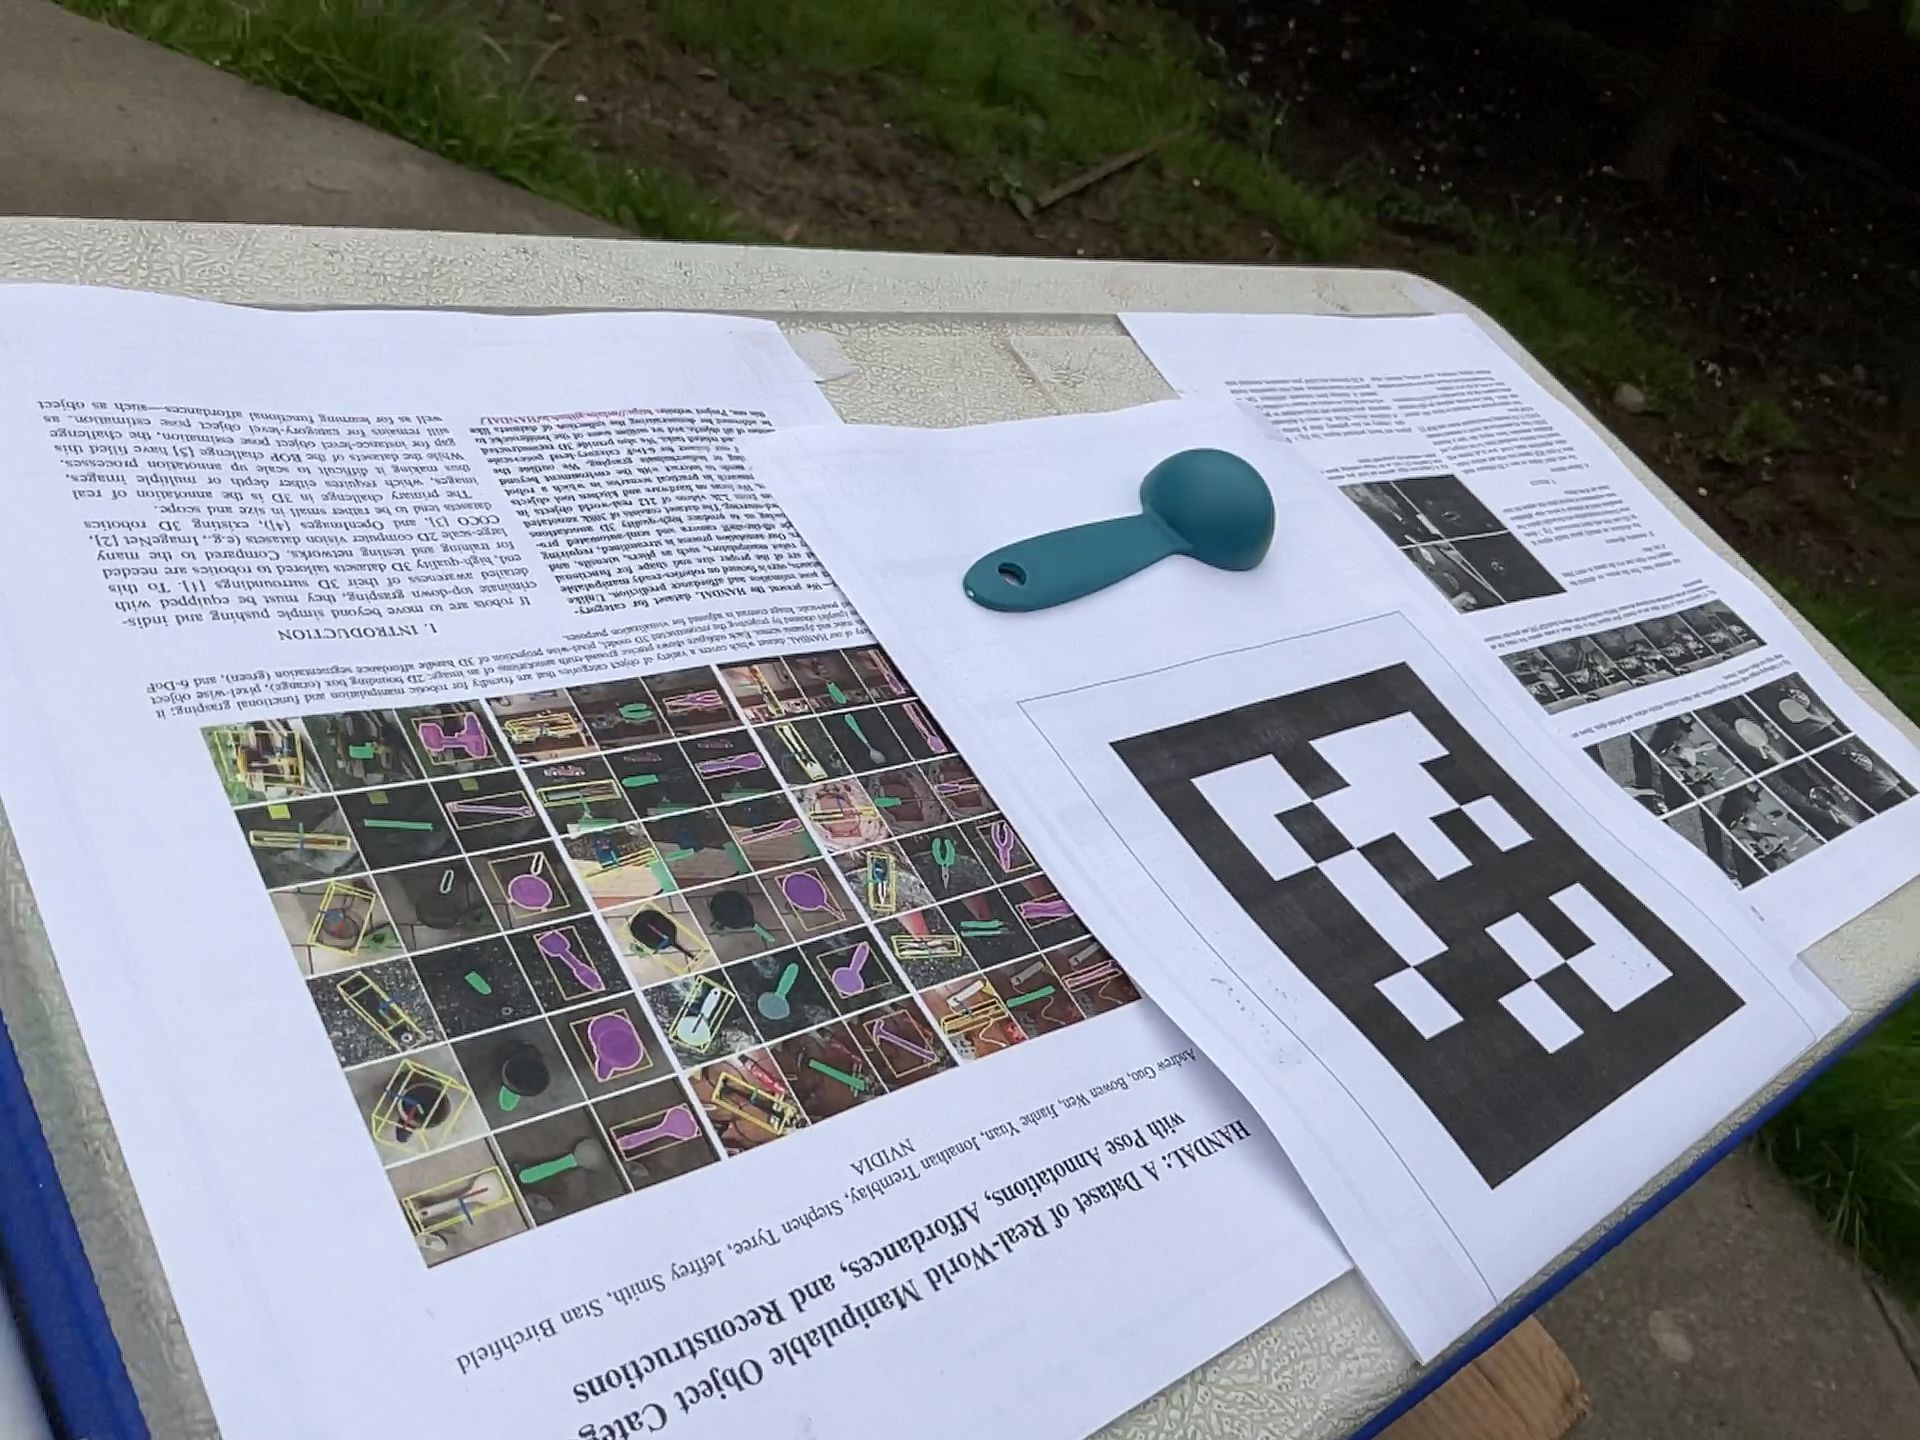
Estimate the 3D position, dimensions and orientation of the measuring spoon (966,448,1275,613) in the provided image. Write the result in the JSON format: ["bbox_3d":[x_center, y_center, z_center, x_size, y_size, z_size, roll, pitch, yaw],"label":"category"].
[{"bbox_3d":[0.048,-0.053,0.436,0.128,0.021,0.042,-23,69,-45],"label":"measuring spoon"}]
